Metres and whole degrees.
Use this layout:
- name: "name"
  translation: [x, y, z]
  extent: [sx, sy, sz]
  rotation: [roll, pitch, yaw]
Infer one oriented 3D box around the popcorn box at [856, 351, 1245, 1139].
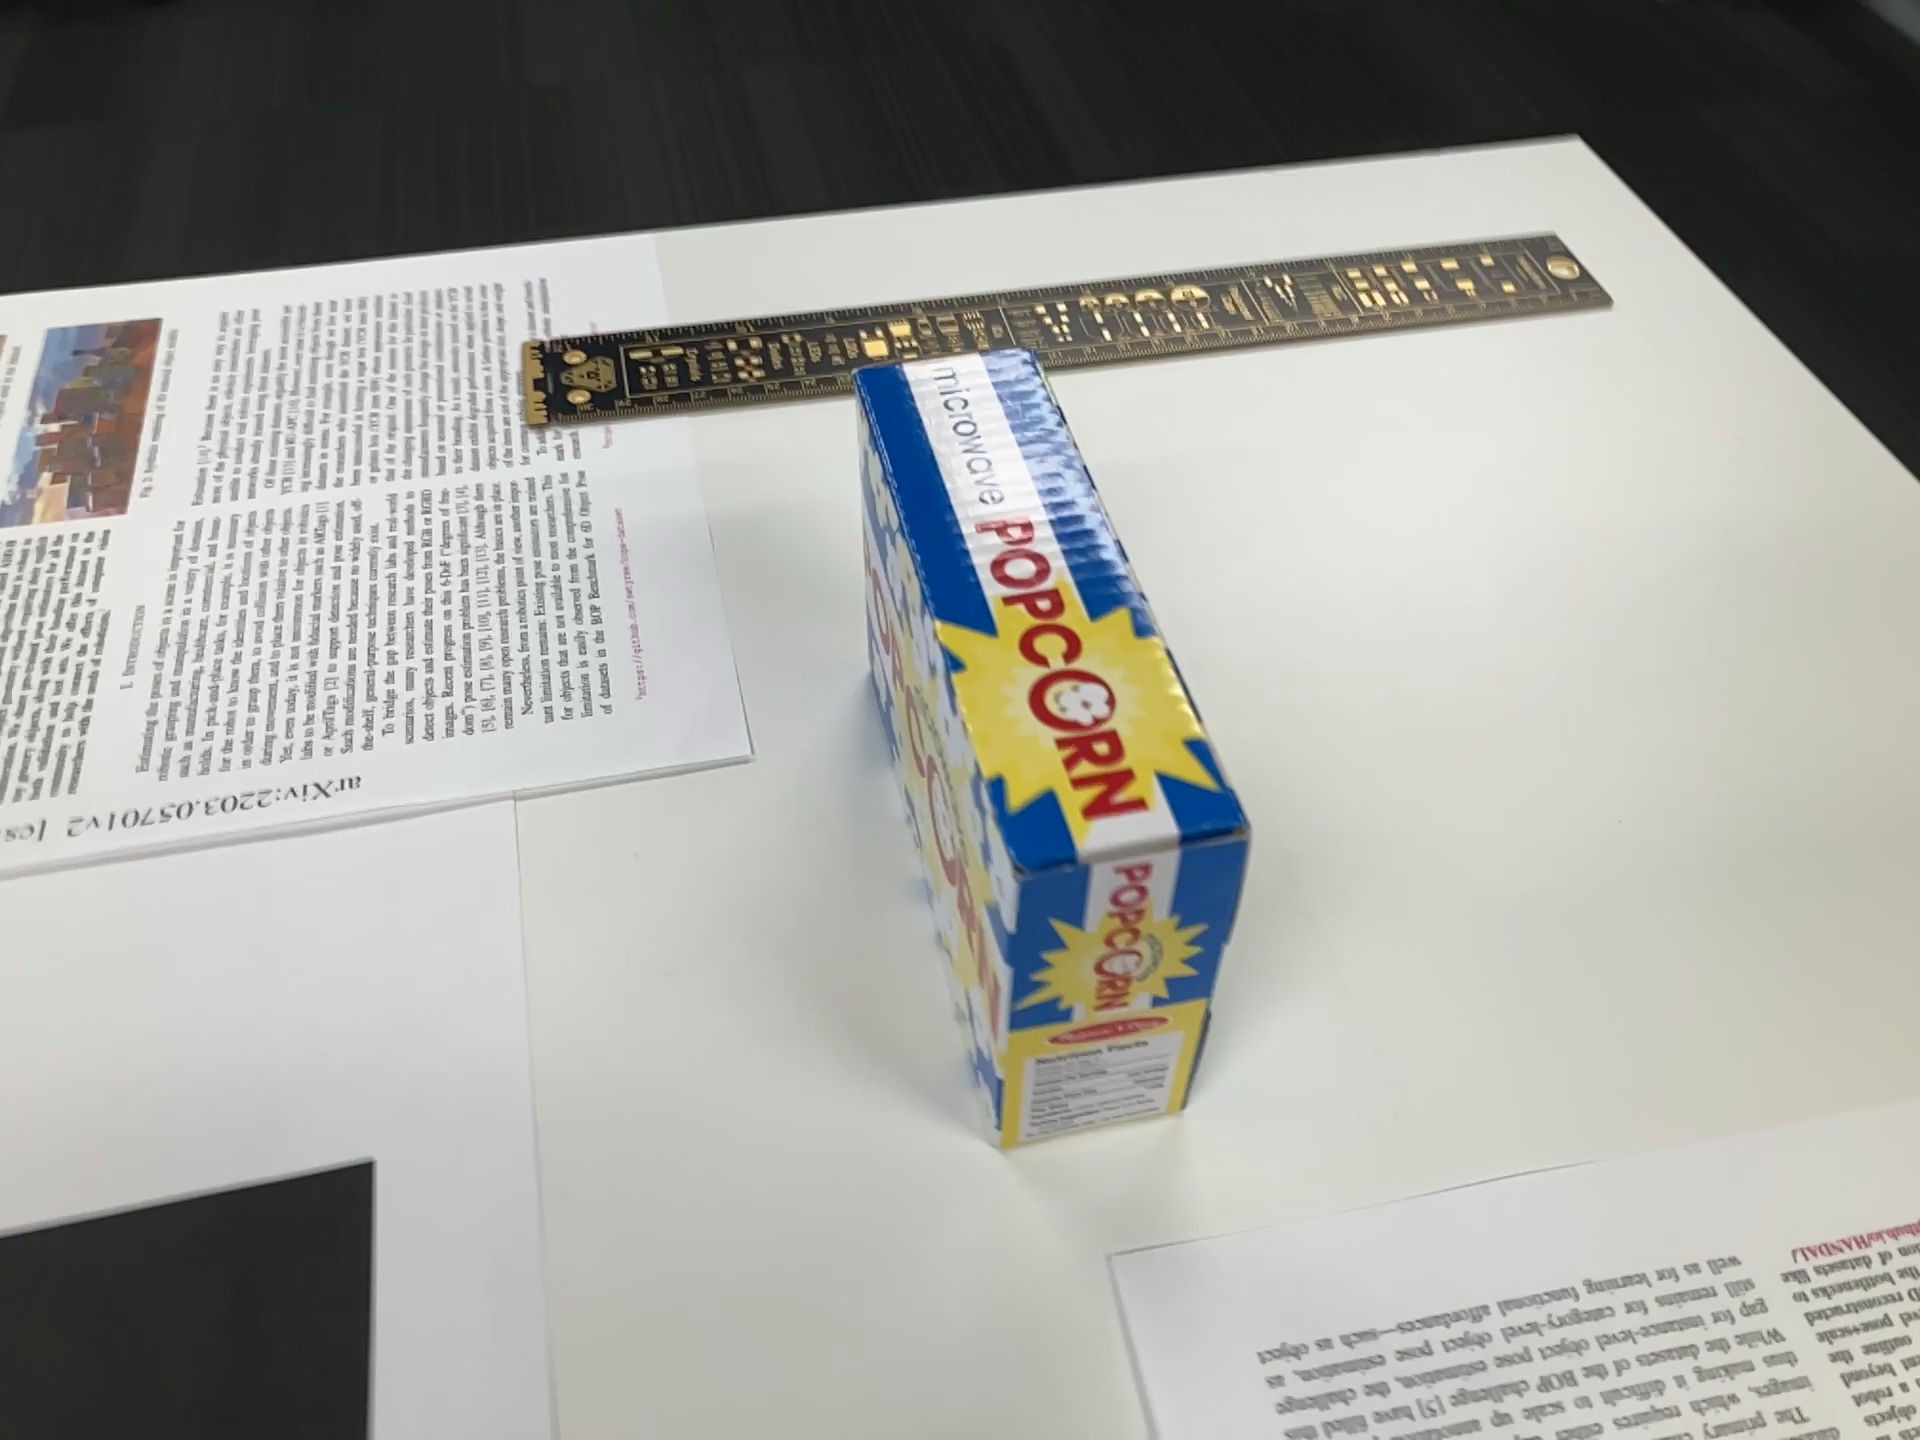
- name: "popcorn box"
  translation: [0.010, 0.001, 0.300]
  extent: [0.038, 0.085, 0.126]
  rotation: [-9, 49, -9]
